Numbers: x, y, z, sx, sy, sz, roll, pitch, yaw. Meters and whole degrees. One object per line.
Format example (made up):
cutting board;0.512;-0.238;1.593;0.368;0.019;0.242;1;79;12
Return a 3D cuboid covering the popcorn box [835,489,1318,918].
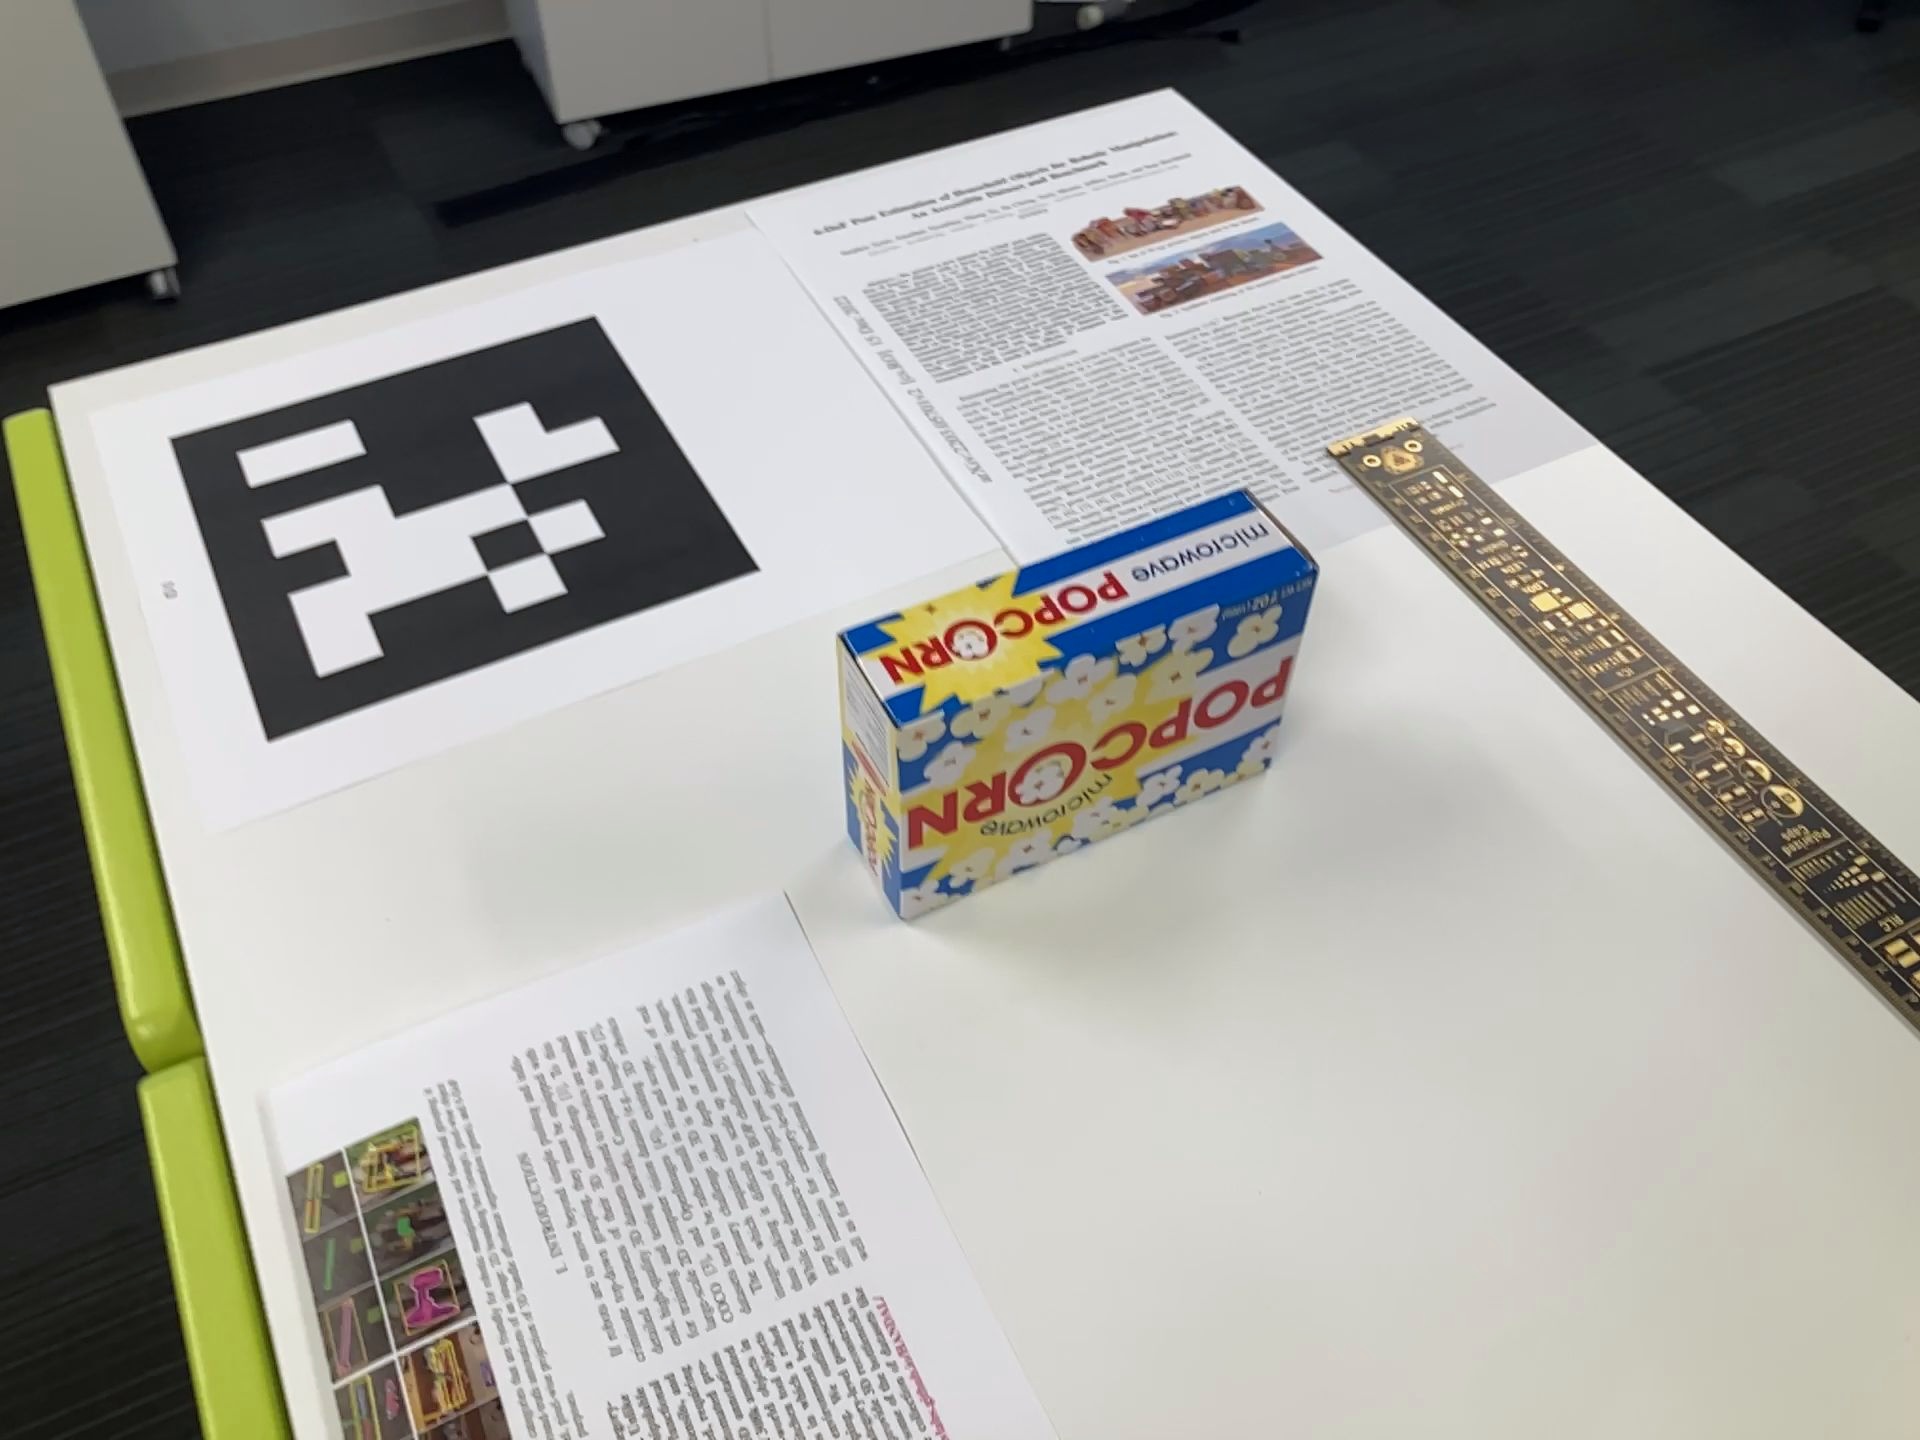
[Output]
popcorn box;0.031;-0.004;0.440;0.126;0.085;0.038;-21;54;-18
